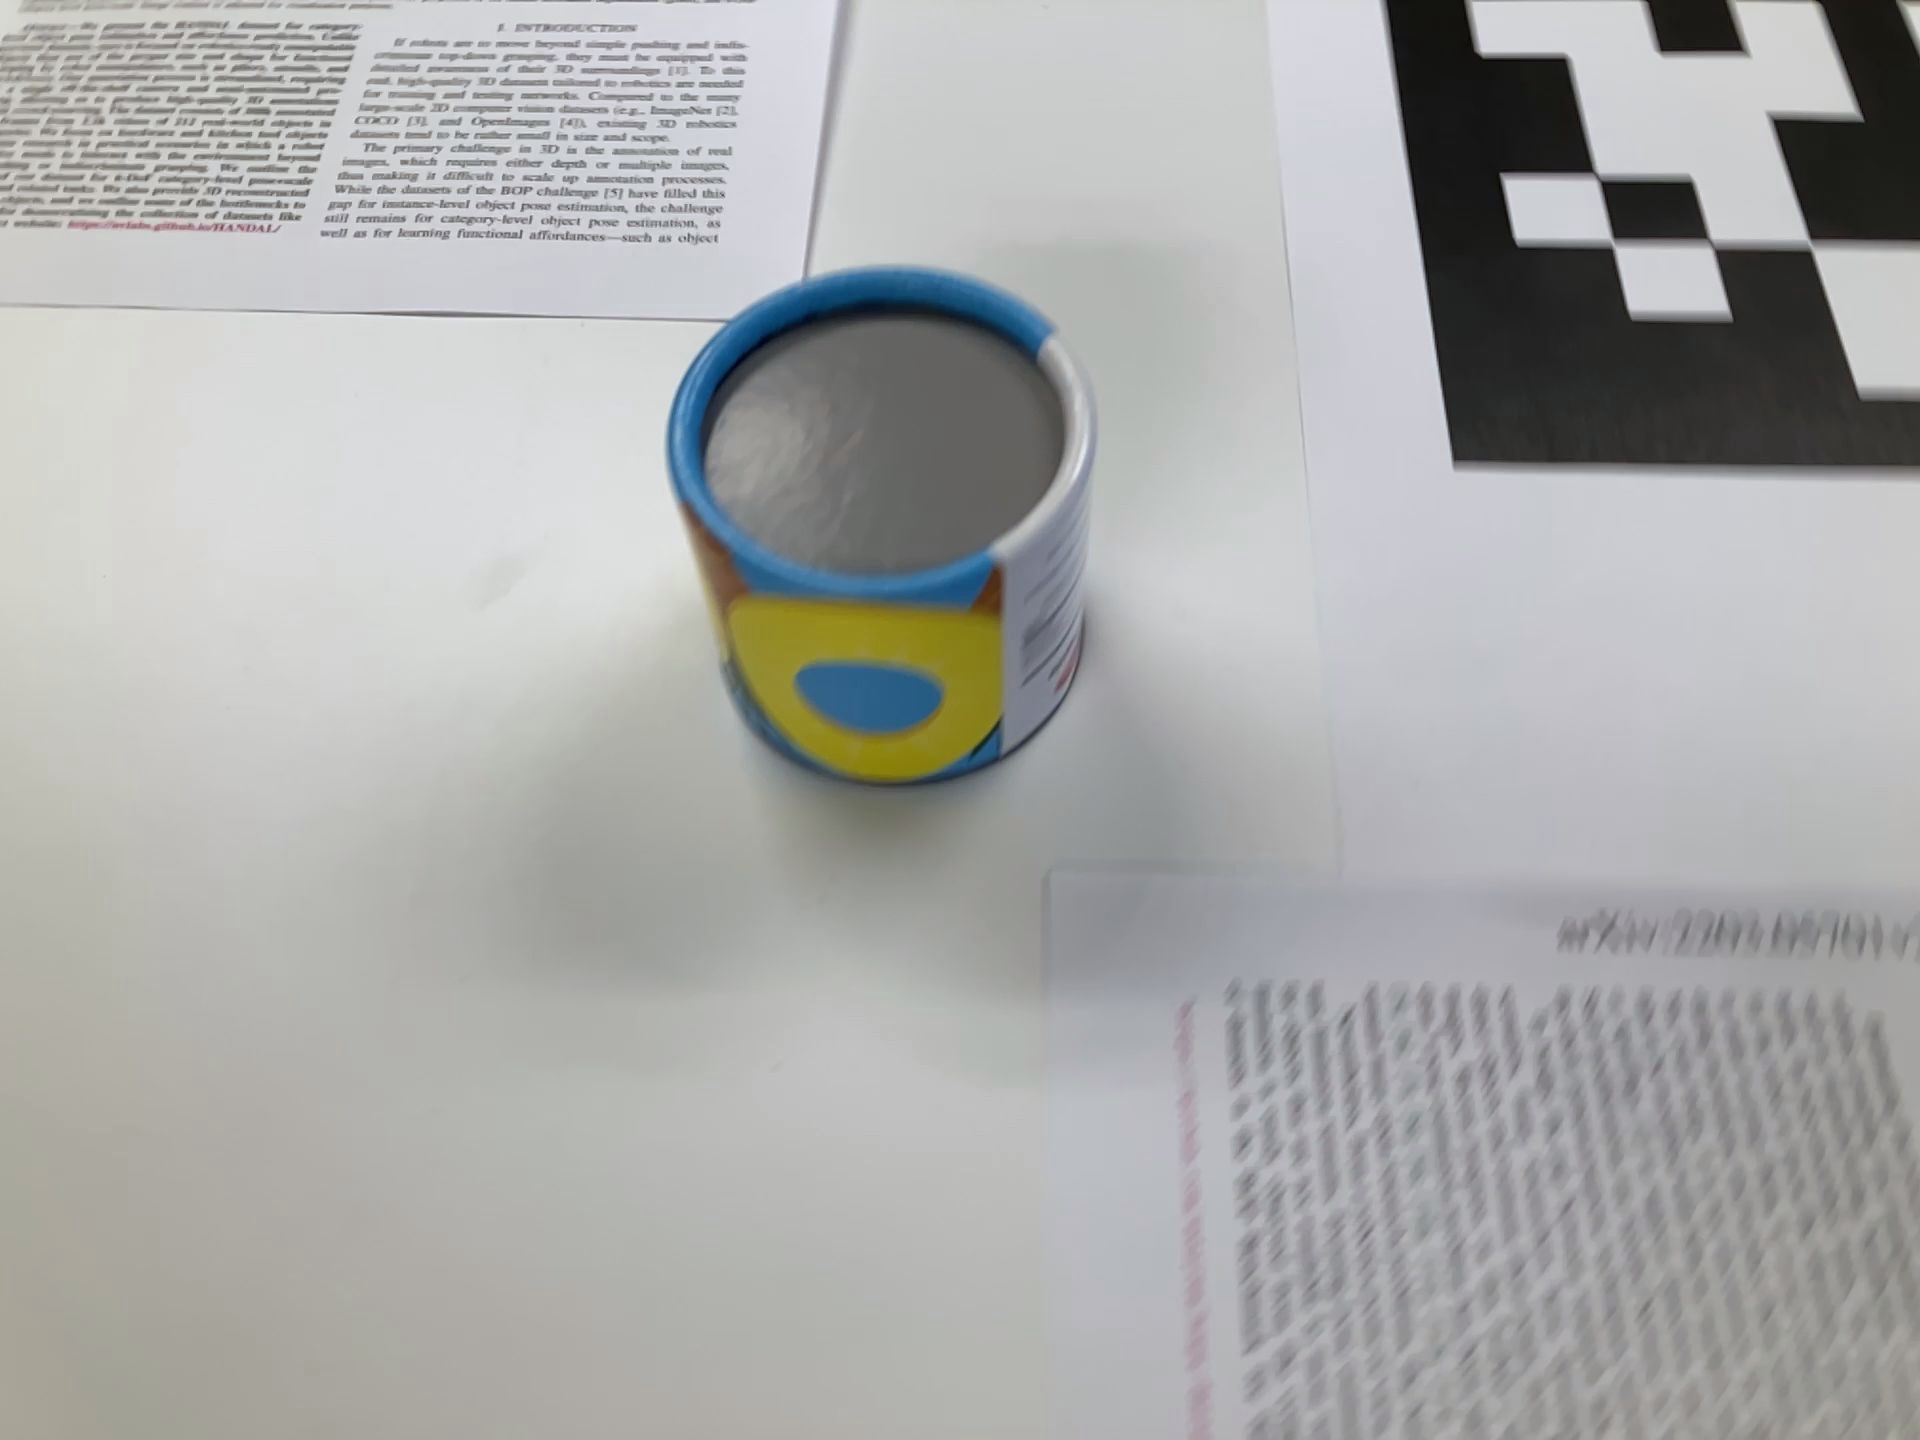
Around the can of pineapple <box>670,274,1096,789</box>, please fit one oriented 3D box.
[{"bbox_3d":[-0.013,-0.031,0.265,0.071,0.058,0.071,-1,59,1],"label":"can of pineapple"}]
